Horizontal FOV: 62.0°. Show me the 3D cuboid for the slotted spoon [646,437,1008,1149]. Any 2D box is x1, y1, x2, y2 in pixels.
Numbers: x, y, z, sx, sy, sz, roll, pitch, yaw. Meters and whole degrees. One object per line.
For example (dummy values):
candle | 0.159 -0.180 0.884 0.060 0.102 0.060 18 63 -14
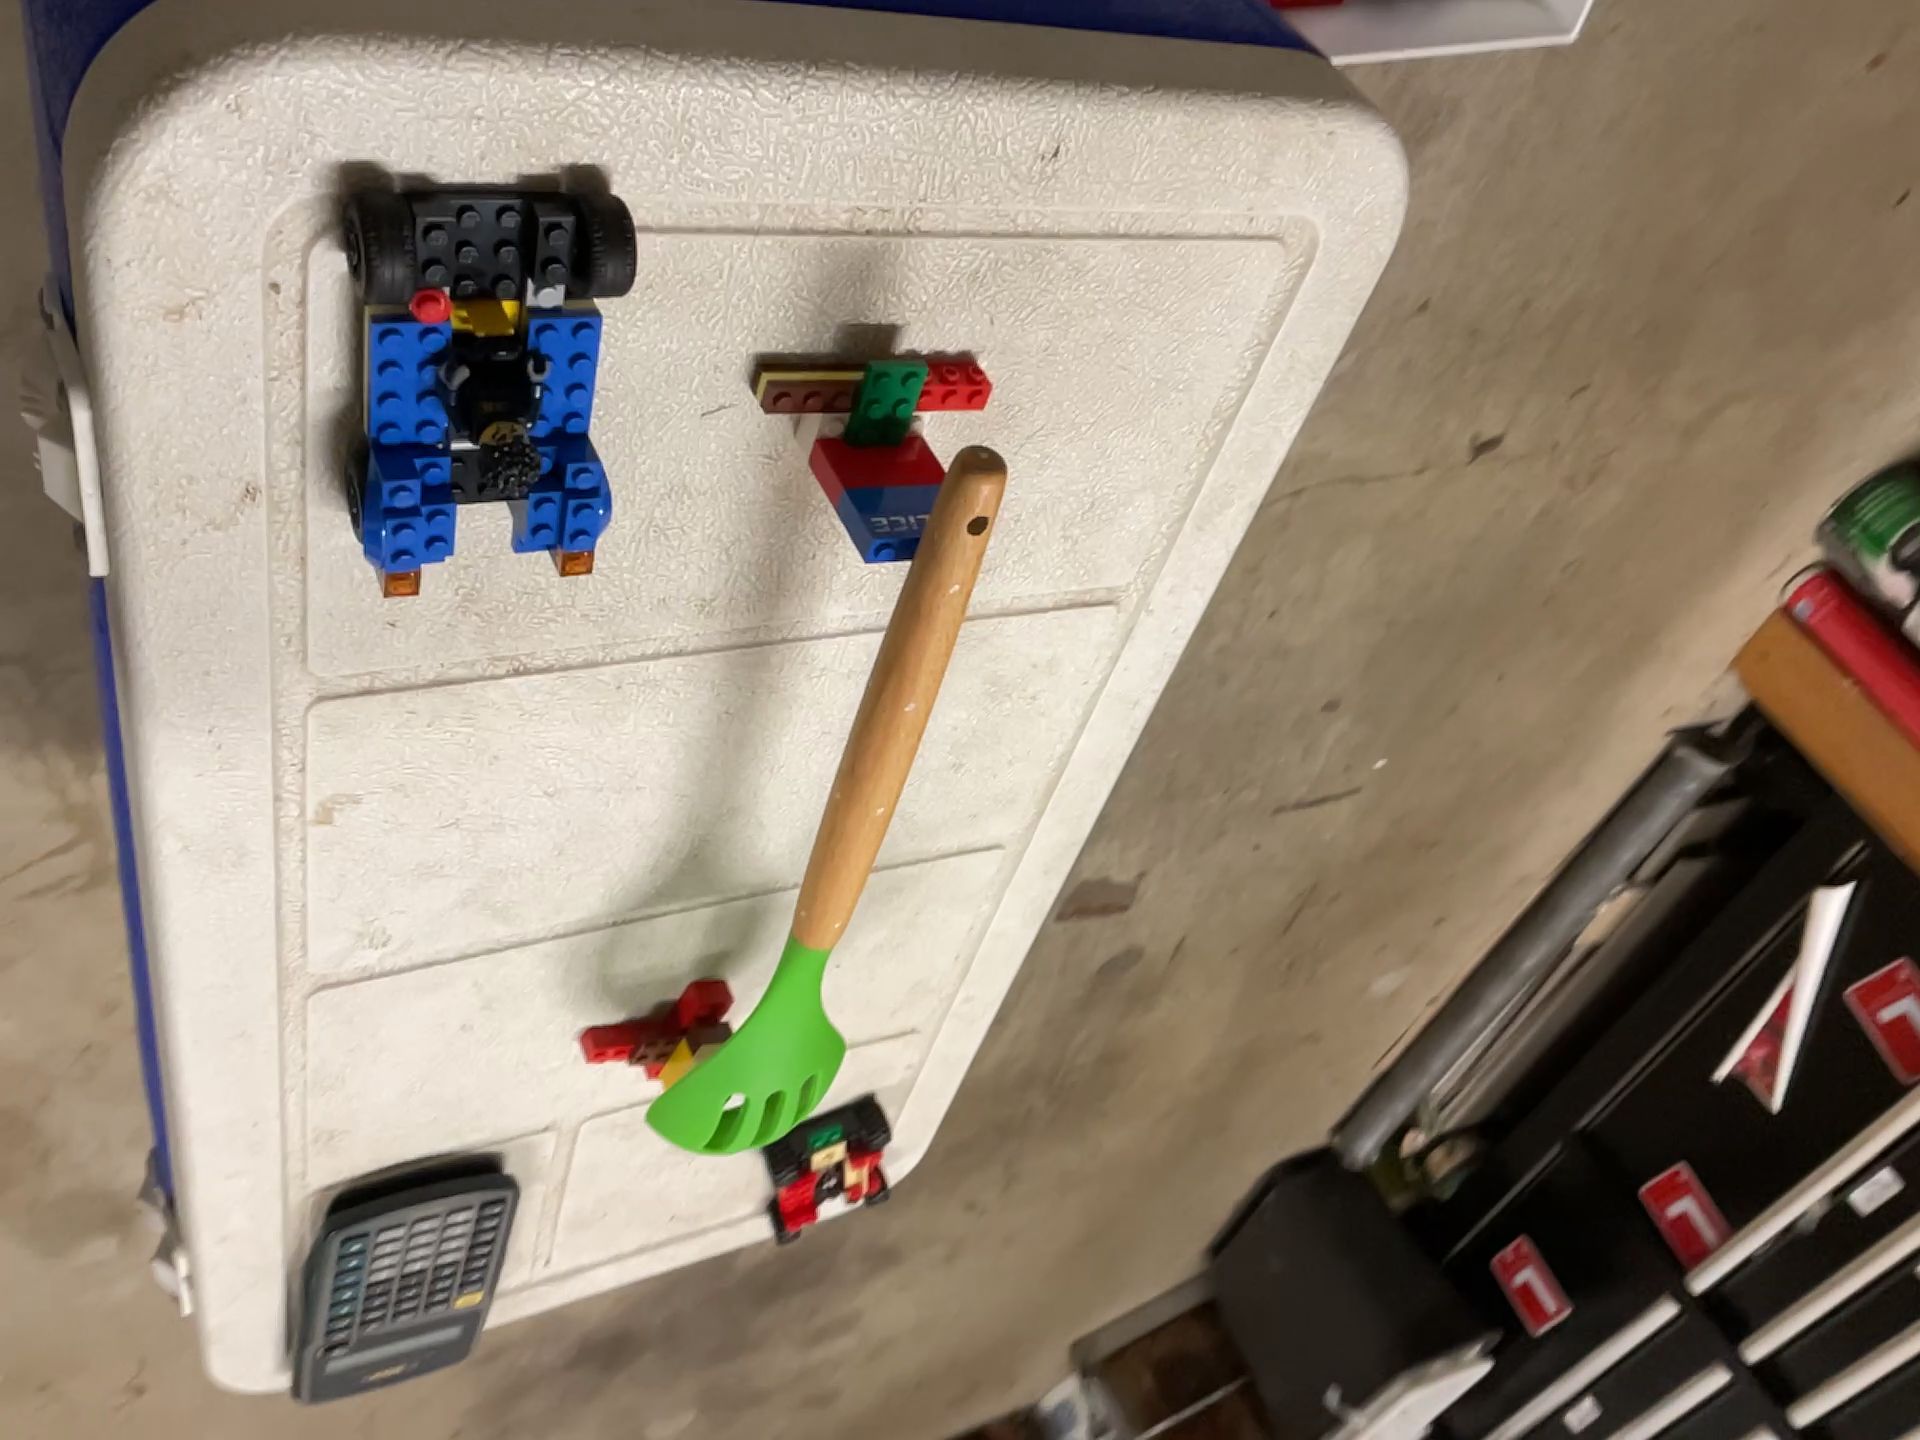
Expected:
slotted spoon | -0.039 0.046 0.465 0.070 0.031 0.313 -8 141 -29
